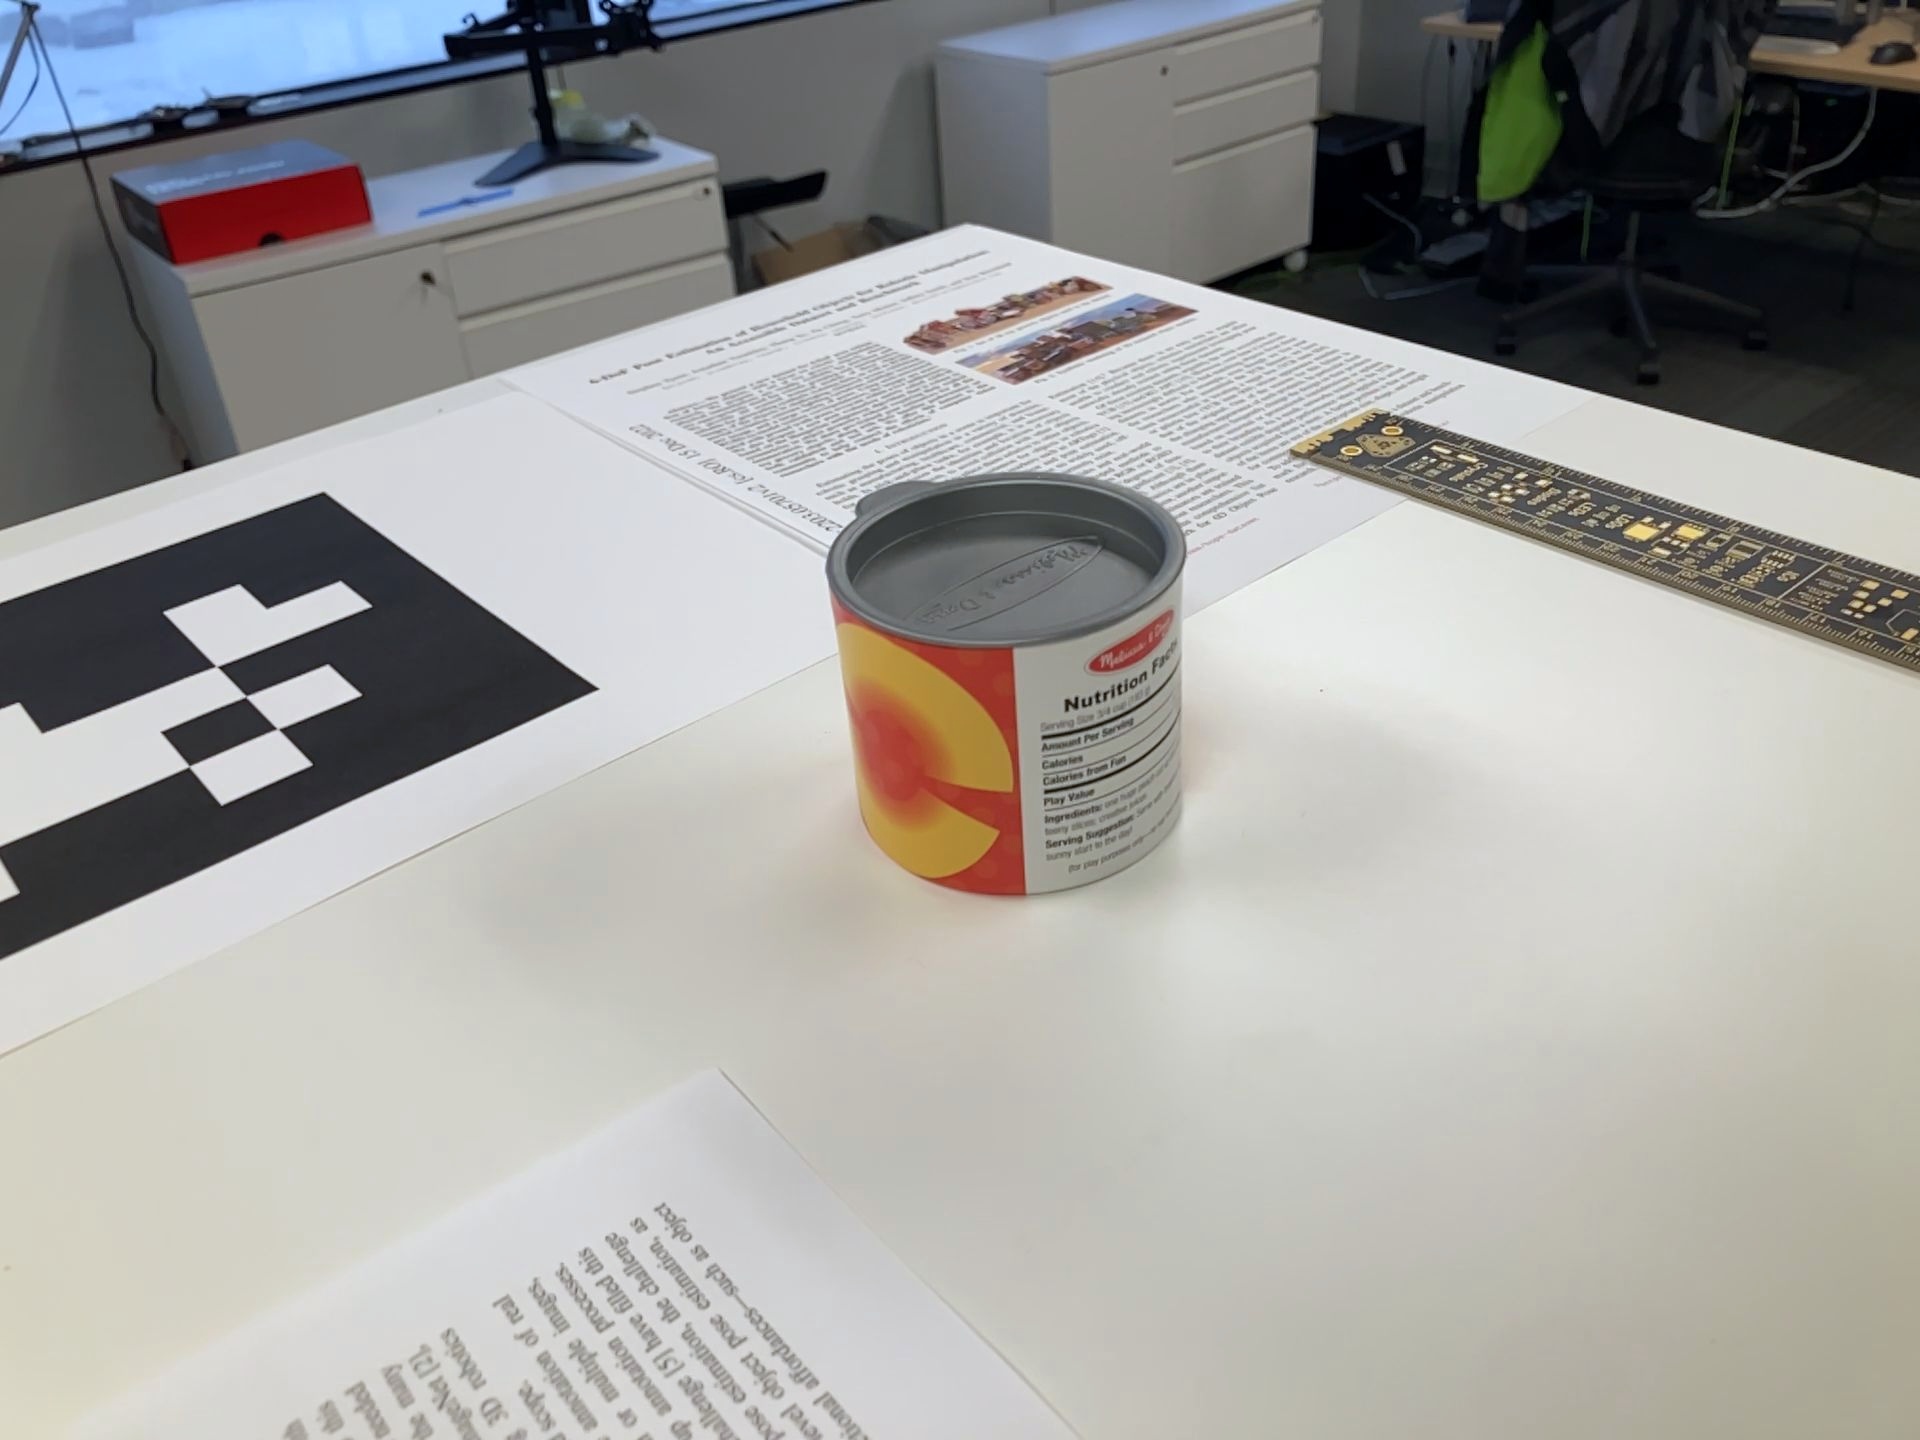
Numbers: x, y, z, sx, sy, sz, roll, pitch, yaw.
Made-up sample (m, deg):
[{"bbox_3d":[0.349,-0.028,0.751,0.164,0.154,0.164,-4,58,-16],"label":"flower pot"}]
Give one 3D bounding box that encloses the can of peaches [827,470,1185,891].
[{"bbox_3d":[0.009,-0.010,0.310,0.071,0.058,0.071,-4,33,3],"label":"can of peaches"}]
